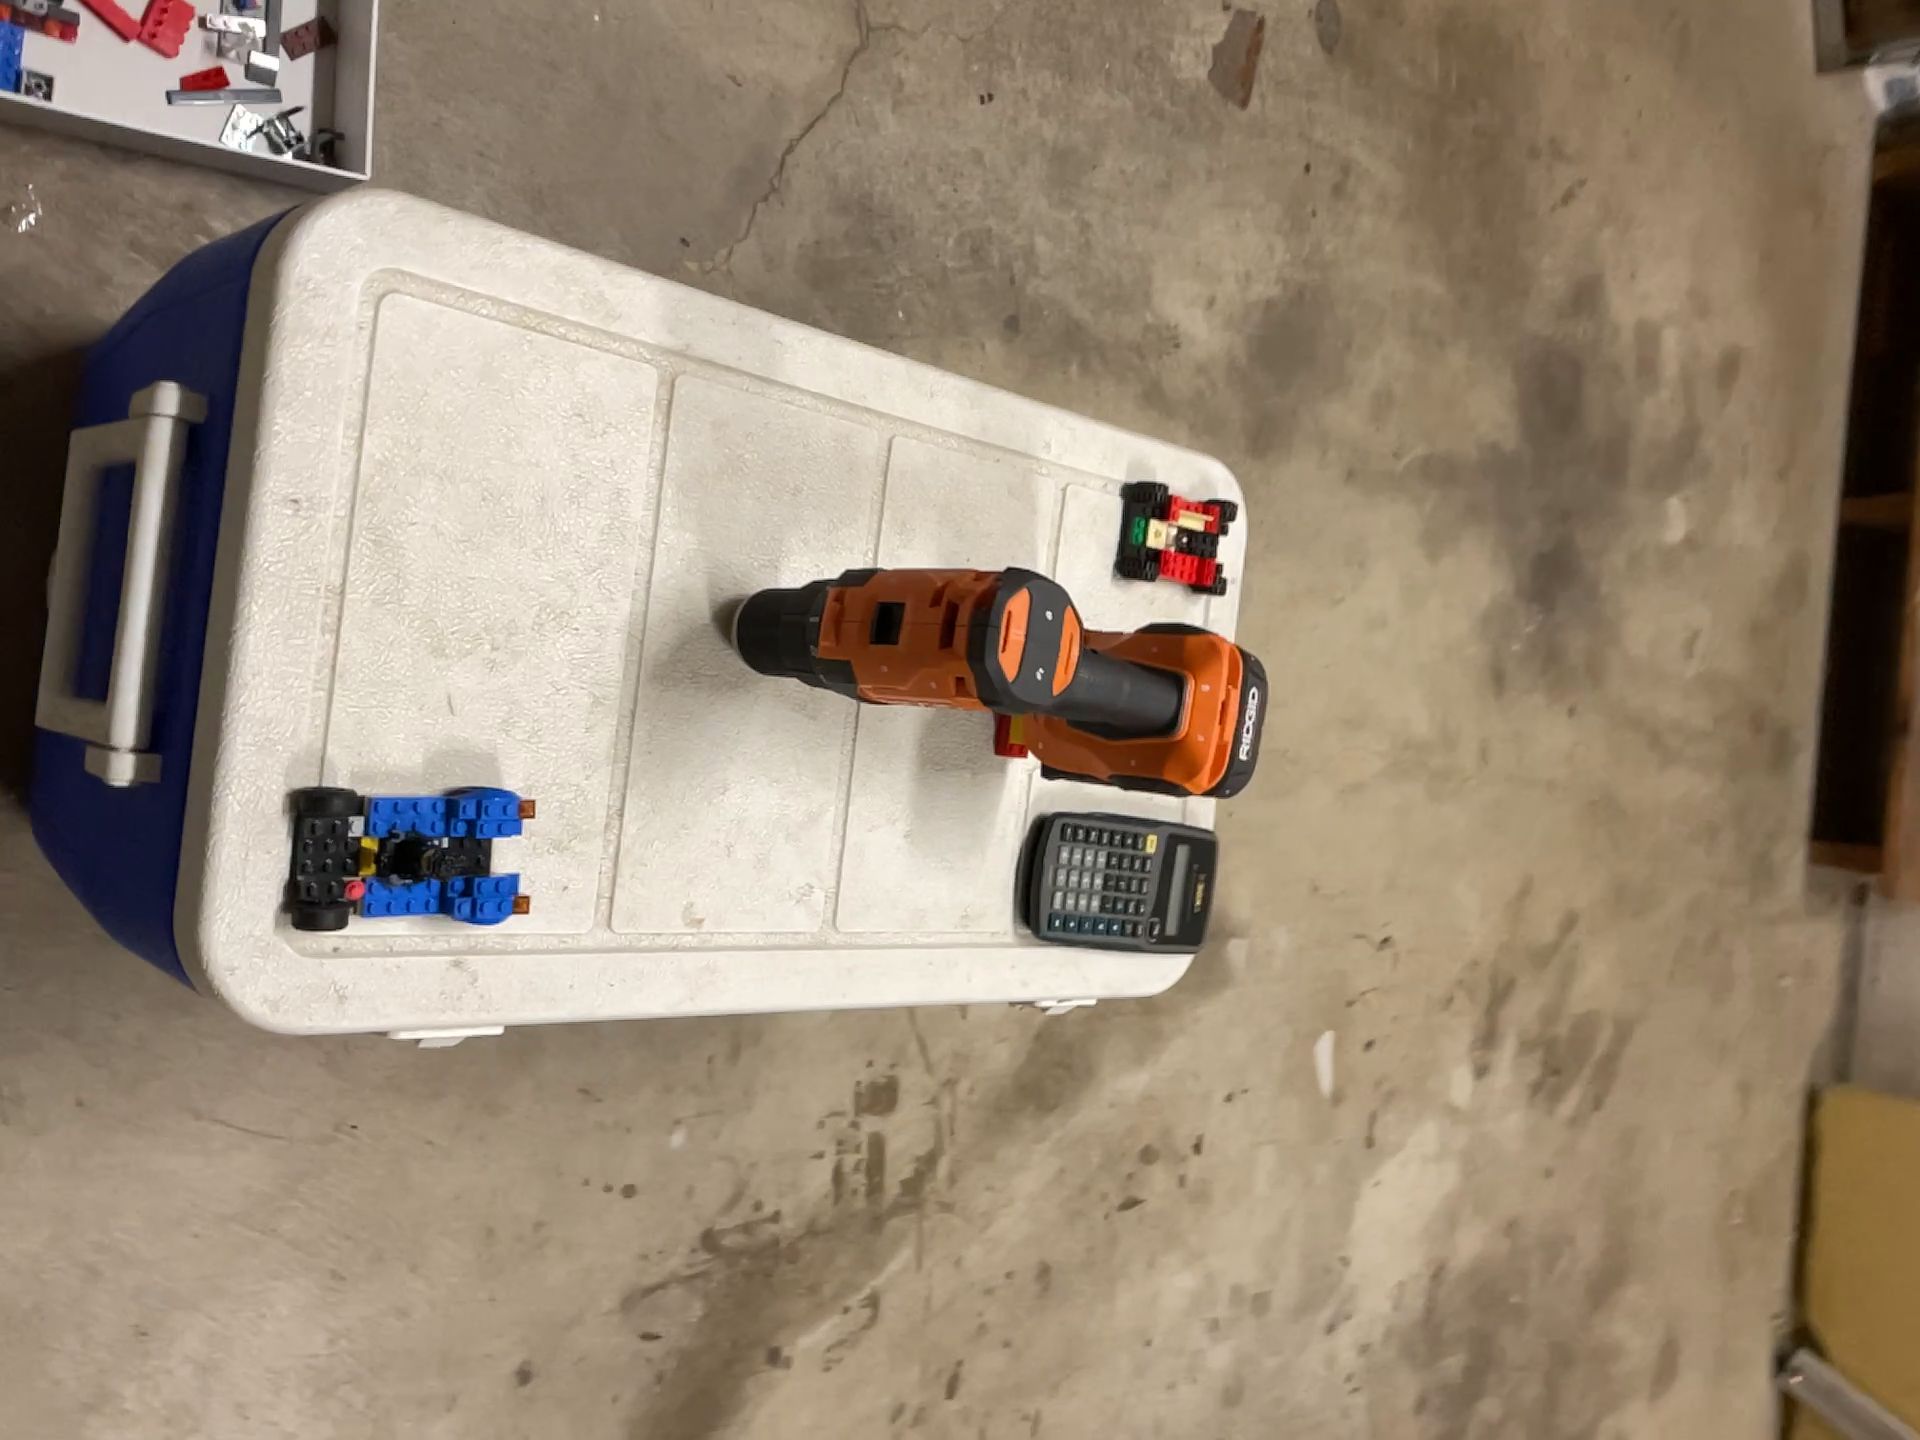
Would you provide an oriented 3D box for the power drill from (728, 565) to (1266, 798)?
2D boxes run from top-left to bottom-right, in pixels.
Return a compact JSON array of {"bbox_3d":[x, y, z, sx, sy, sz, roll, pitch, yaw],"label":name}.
[{"bbox_3d":[0.018,-0.022,0.758,0.226,0.185,0.084,16,82,-48],"label":"power drill"}]
